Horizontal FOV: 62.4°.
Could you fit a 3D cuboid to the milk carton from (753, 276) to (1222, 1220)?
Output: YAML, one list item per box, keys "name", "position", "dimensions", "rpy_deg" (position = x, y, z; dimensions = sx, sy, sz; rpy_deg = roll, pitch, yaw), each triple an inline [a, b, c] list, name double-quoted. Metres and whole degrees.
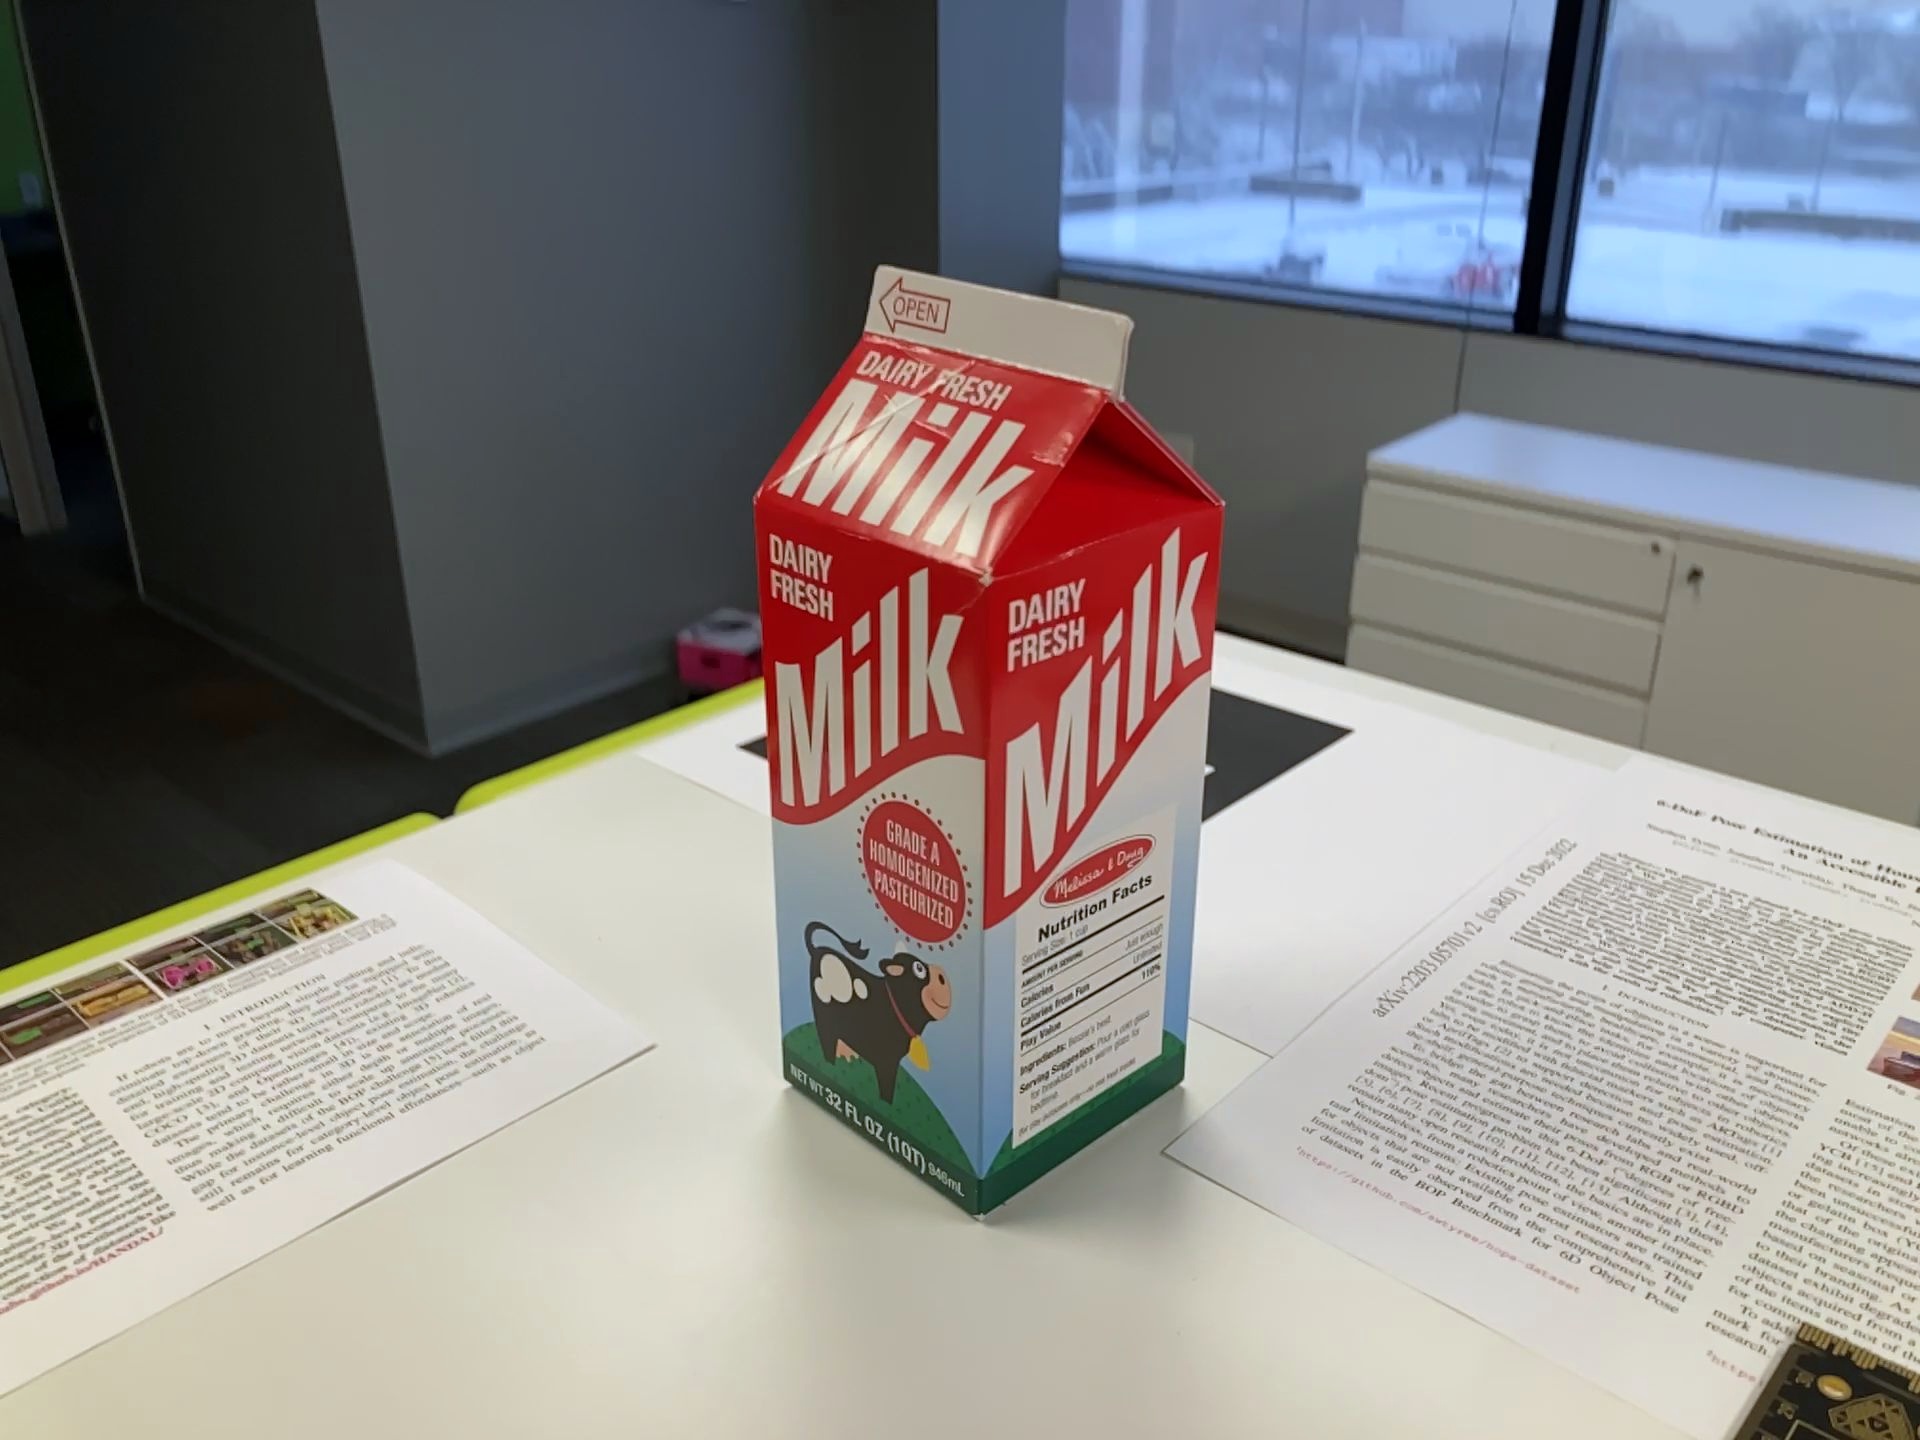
- name: "milk carton"
  position: [0.006, 0.003, 0.352]
  dimensions: [0.073, 0.190, 0.072]
  rpy_deg: [-21, 31, -39]
